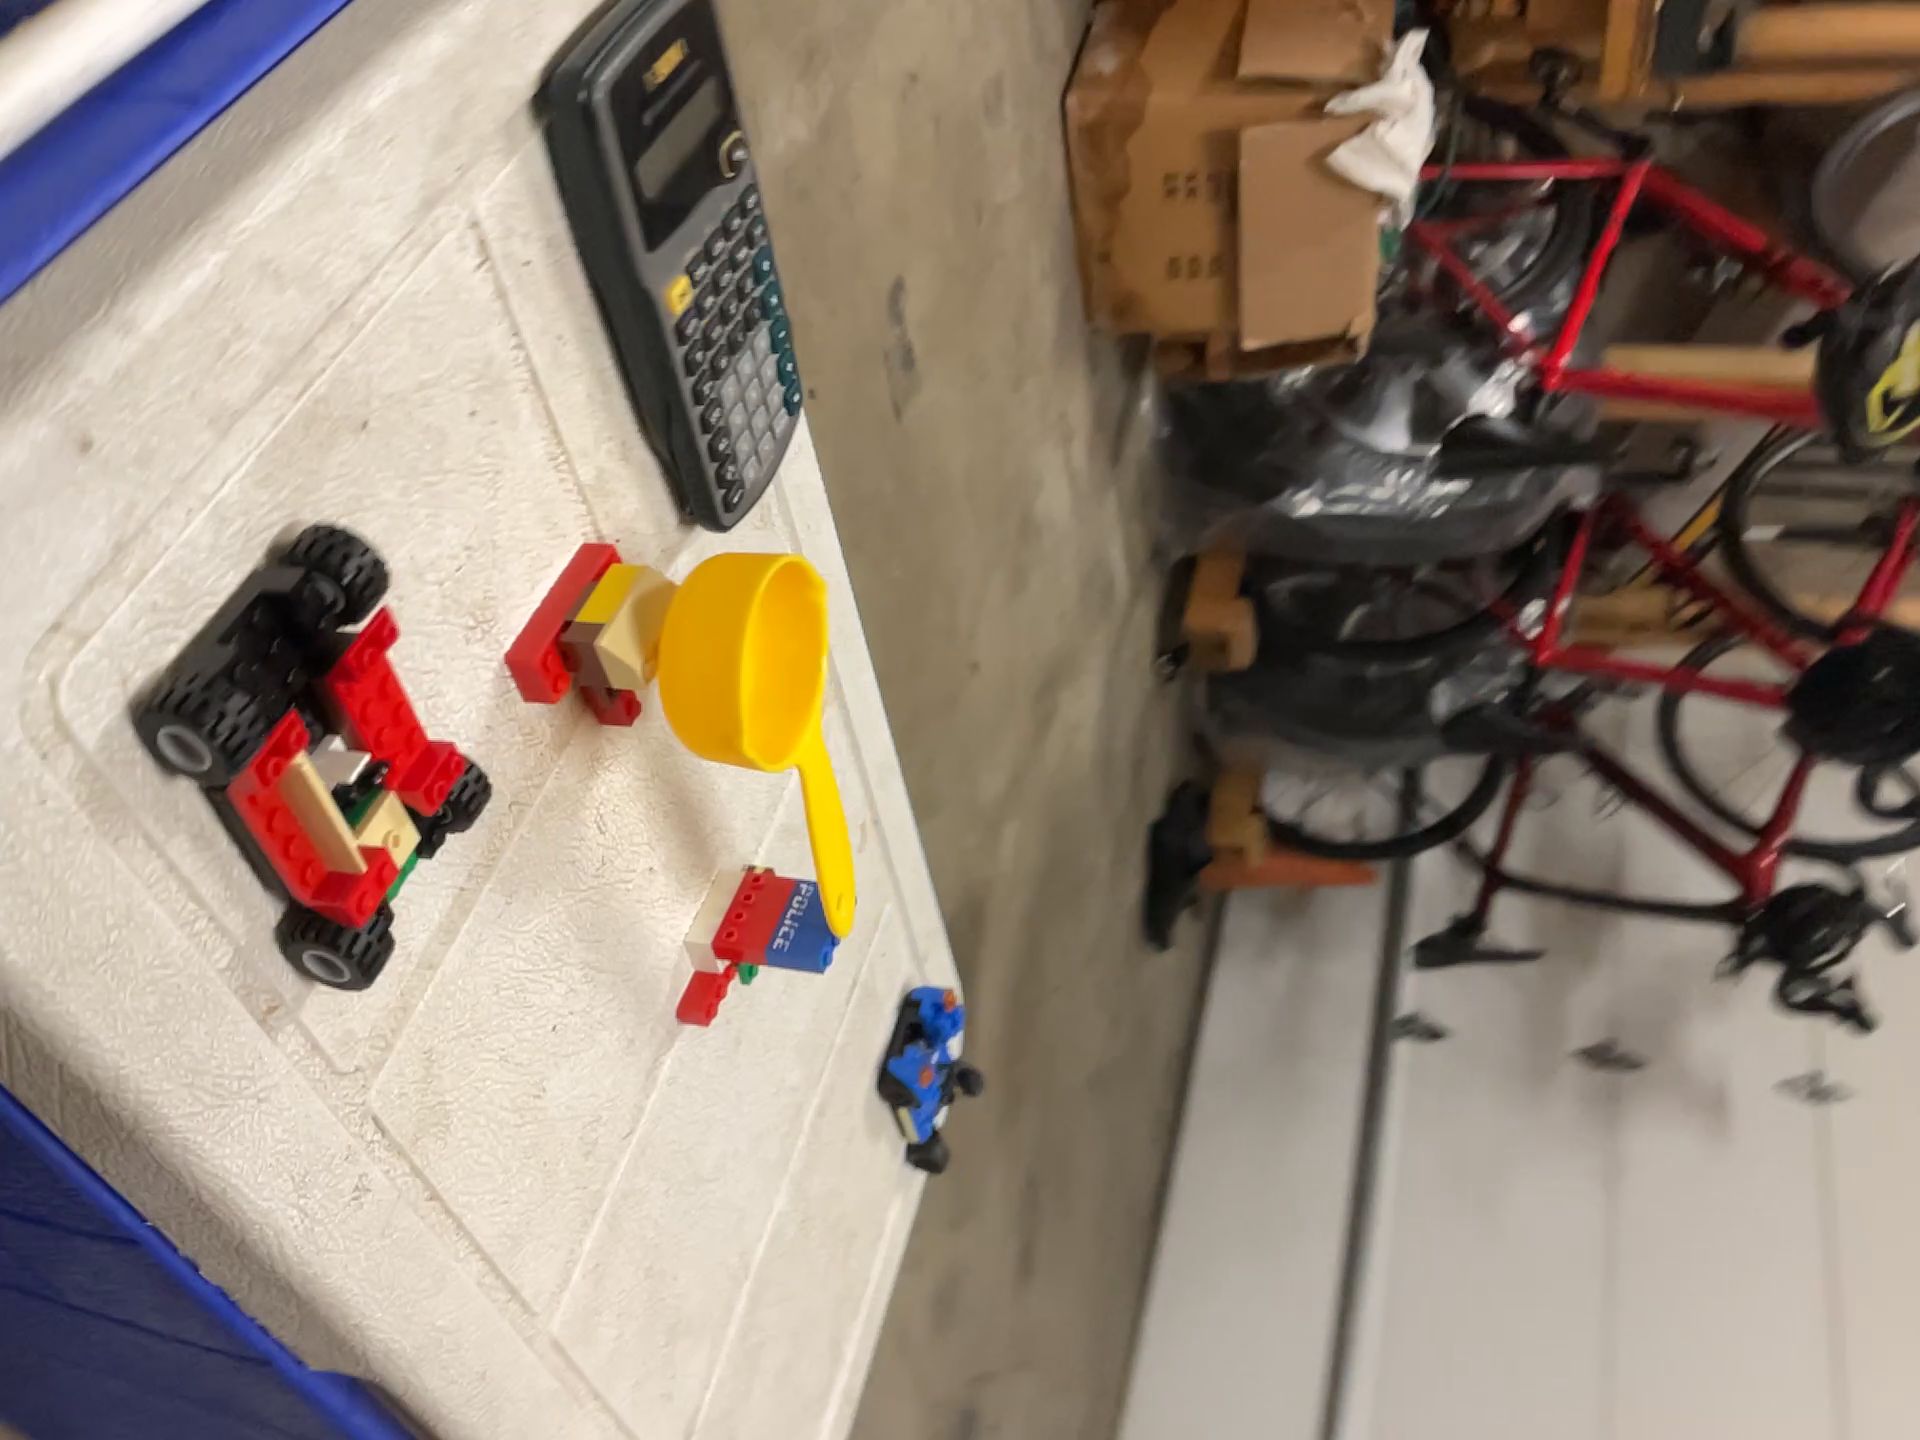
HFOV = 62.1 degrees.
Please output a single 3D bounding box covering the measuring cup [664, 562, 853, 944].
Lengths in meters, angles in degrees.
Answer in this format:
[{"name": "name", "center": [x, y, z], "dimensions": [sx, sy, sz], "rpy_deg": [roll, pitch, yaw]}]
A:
[{"name": "measuring cup", "center": [-0.056, 0.017, 0.476], "dimensions": [0.156, 0.029, 0.062], "rpy_deg": [83, 21, -47]}]
